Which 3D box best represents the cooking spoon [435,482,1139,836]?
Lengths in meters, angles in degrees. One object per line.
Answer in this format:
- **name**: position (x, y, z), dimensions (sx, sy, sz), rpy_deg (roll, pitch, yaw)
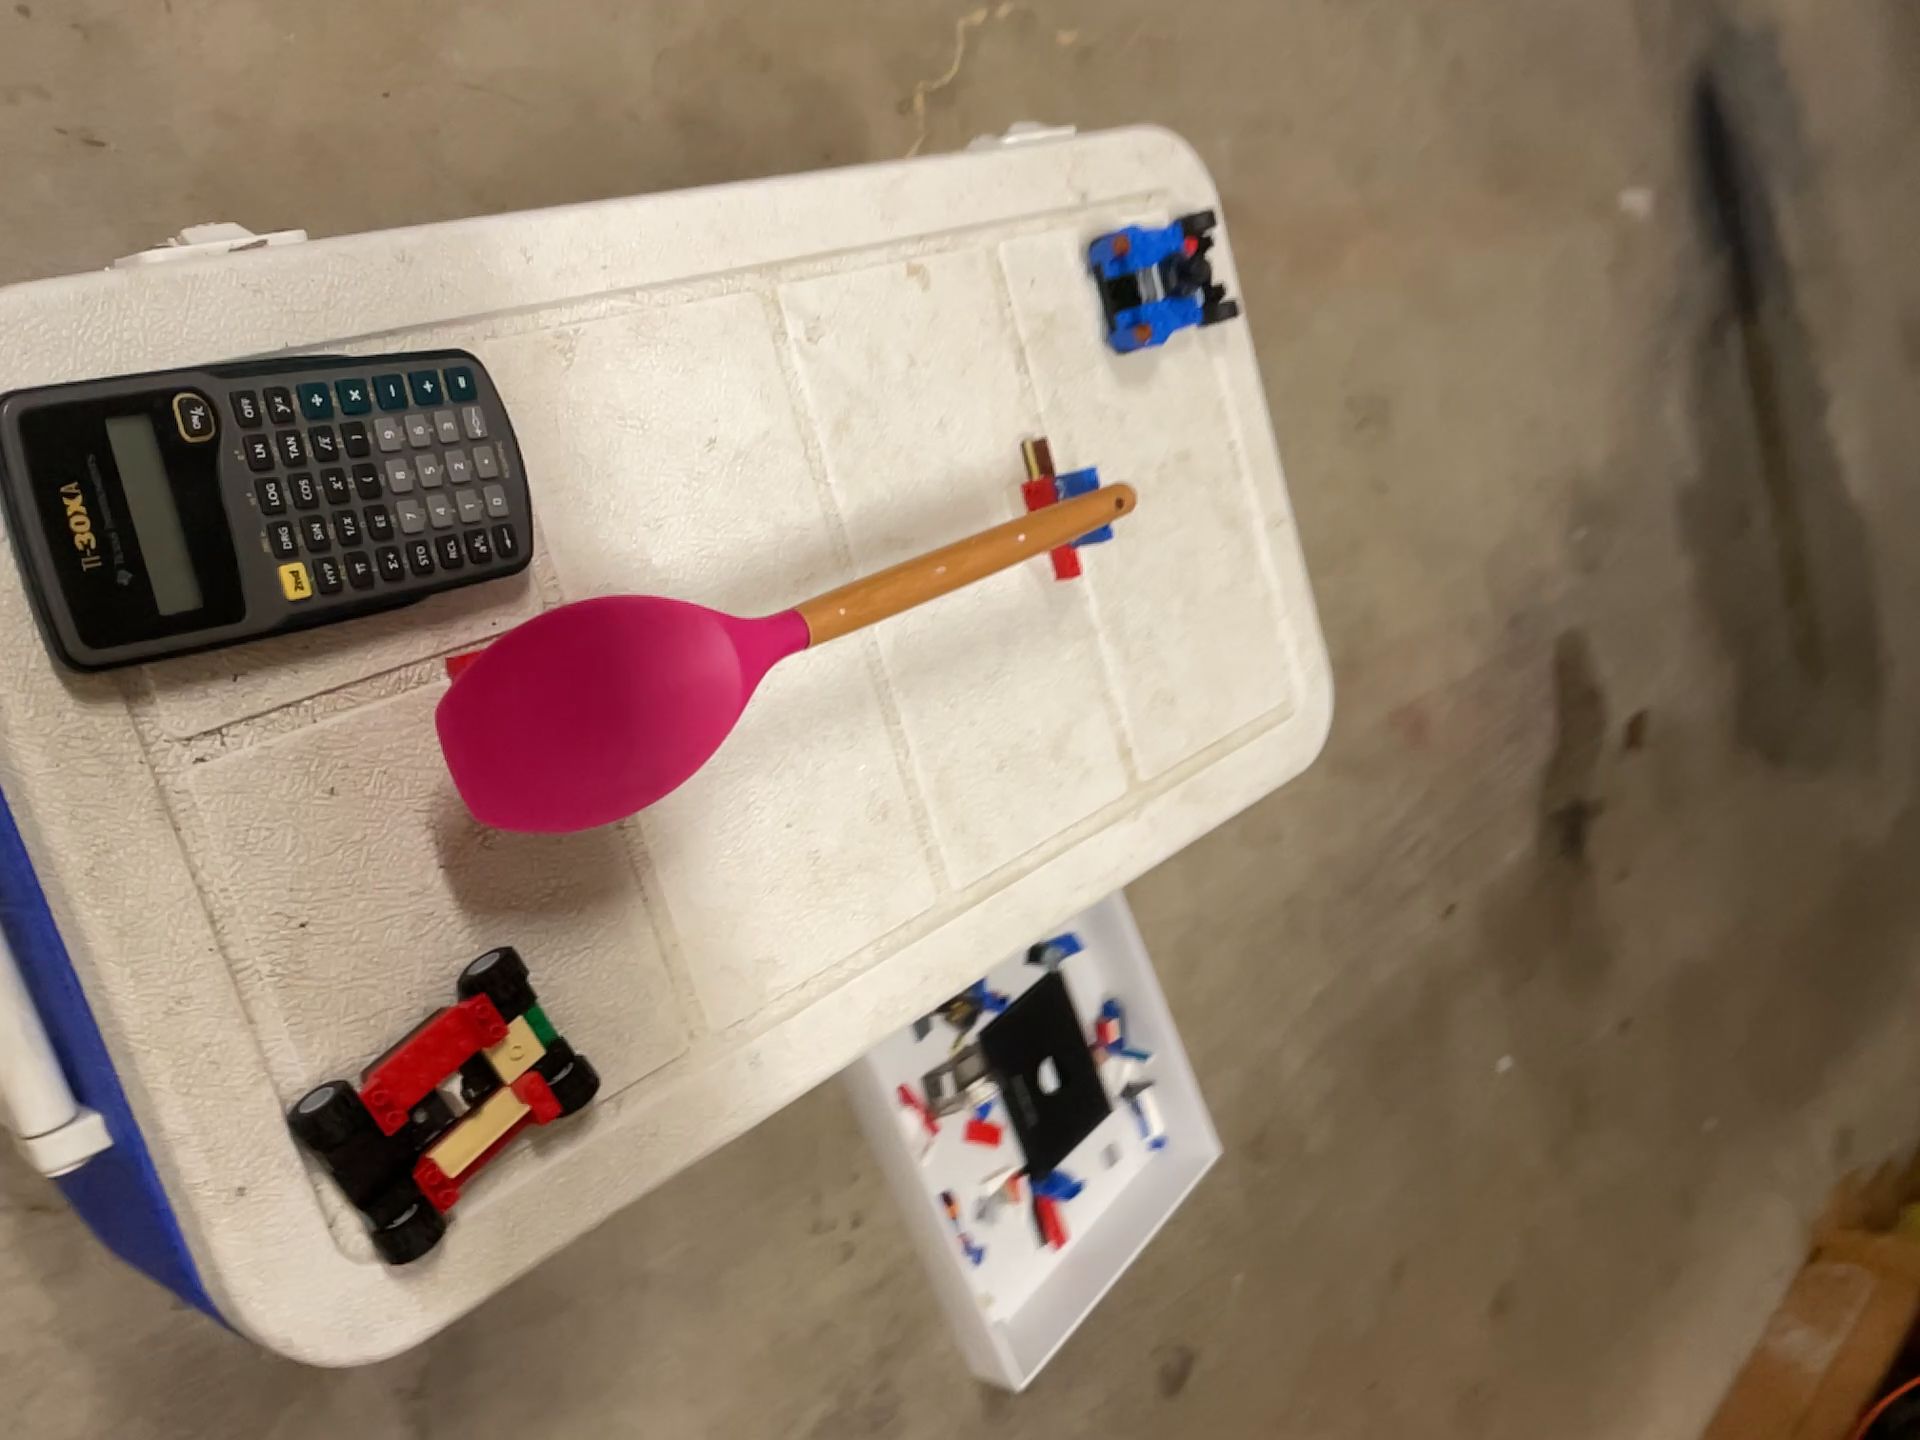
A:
- **cooking spoon**: position (-0.040, -0.039, 0.568), dimensions (0.319, 0.017, 0.068), rpy_deg (-26, 105, -39)
